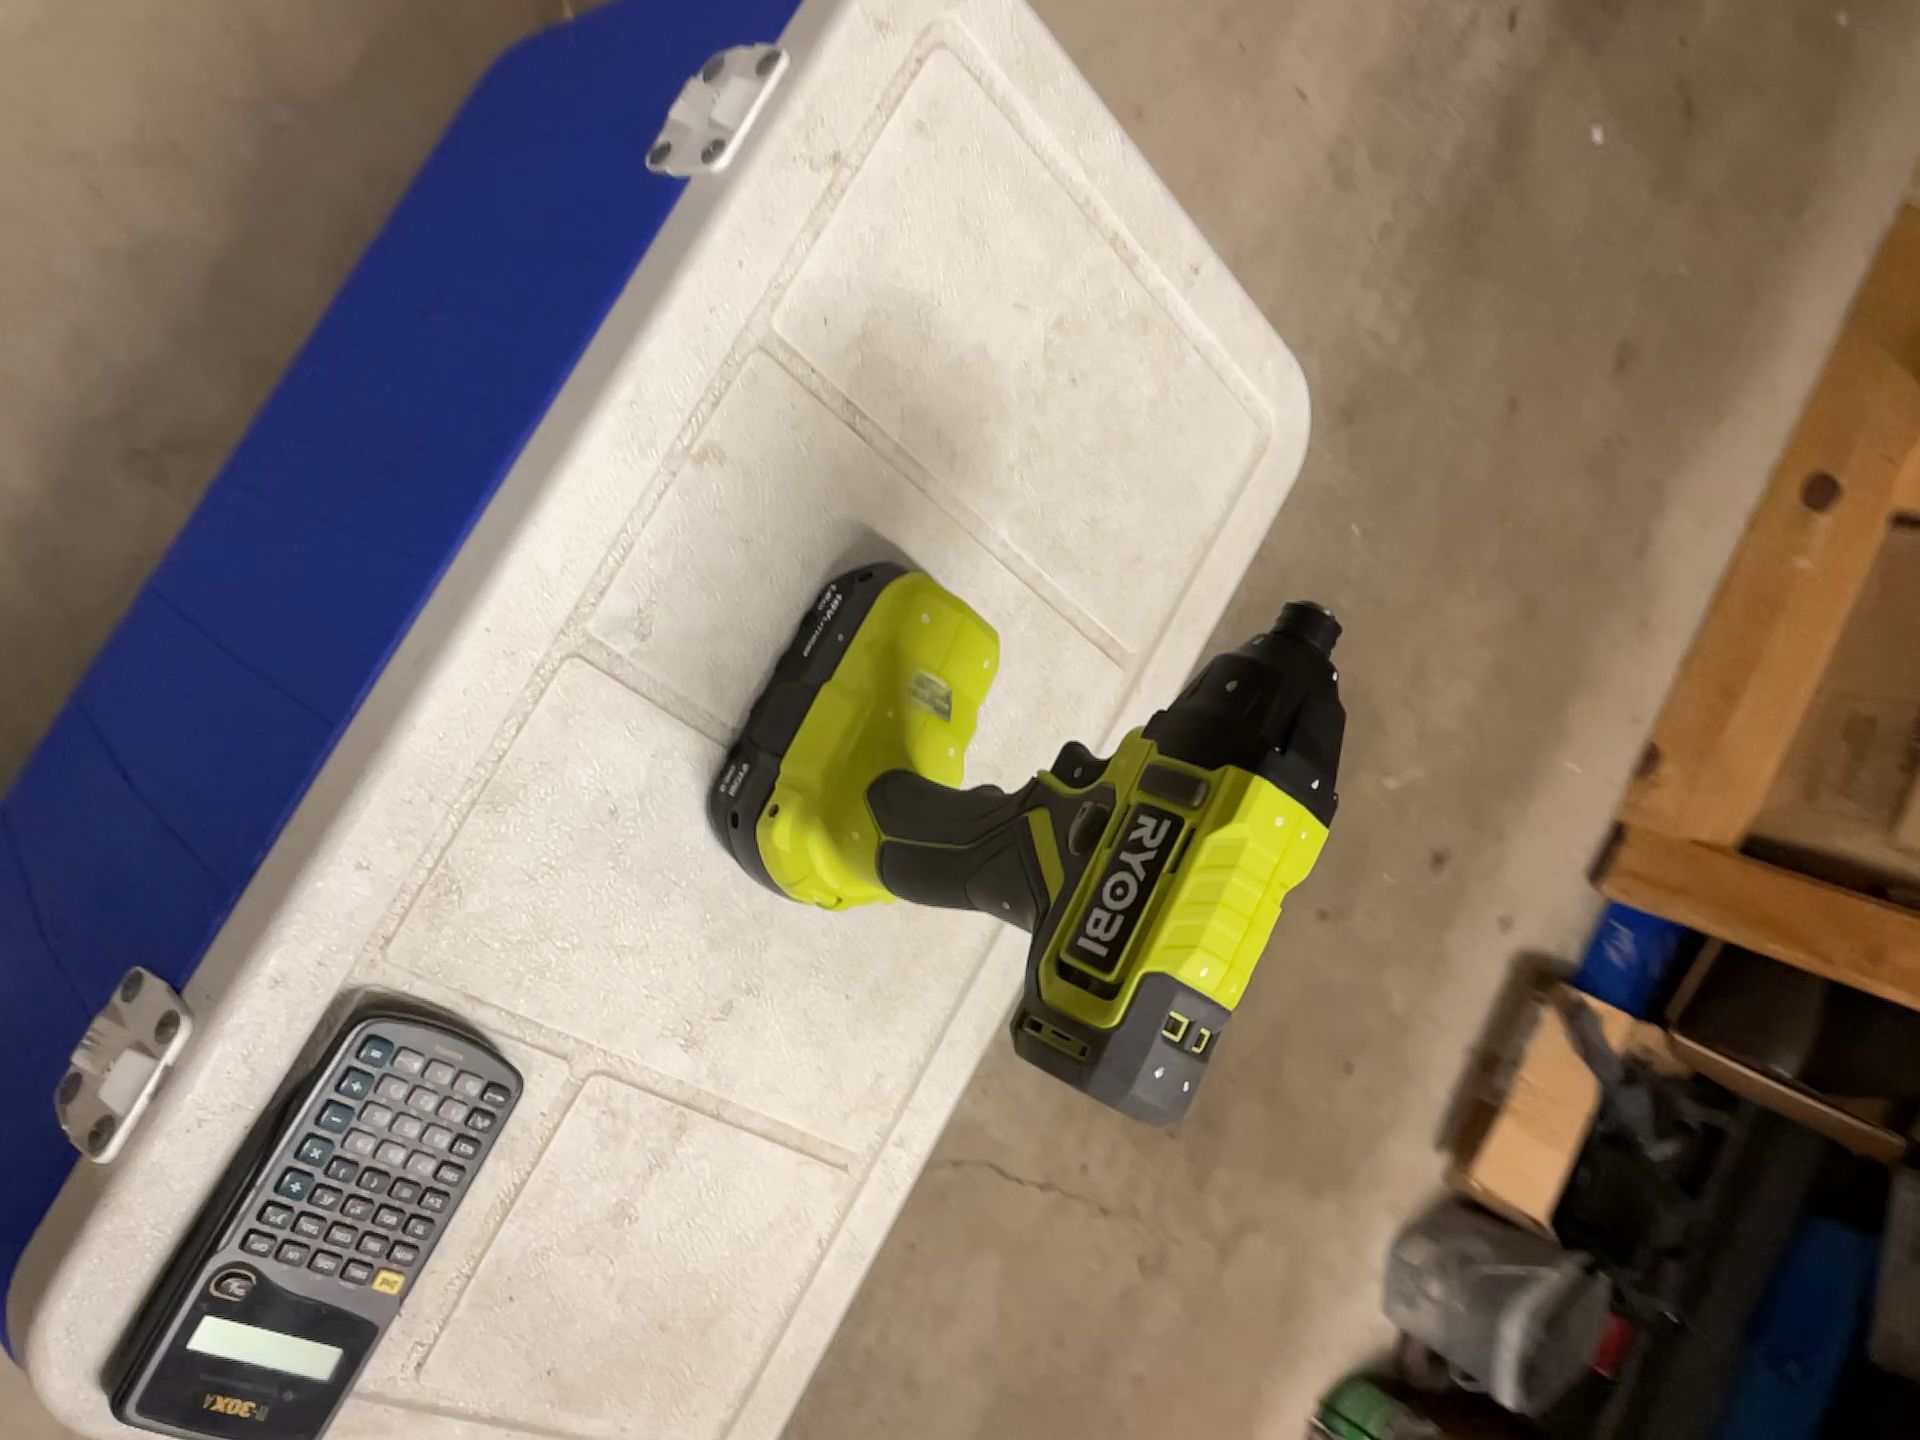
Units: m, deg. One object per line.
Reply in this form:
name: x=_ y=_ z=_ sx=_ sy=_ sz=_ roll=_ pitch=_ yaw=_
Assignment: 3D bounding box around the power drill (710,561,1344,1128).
power drill: x=0.023 y=0.022 z=0.569 sx=0.080 sy=0.223 sz=0.171 roll=34 pitch=79 yaw=-44
